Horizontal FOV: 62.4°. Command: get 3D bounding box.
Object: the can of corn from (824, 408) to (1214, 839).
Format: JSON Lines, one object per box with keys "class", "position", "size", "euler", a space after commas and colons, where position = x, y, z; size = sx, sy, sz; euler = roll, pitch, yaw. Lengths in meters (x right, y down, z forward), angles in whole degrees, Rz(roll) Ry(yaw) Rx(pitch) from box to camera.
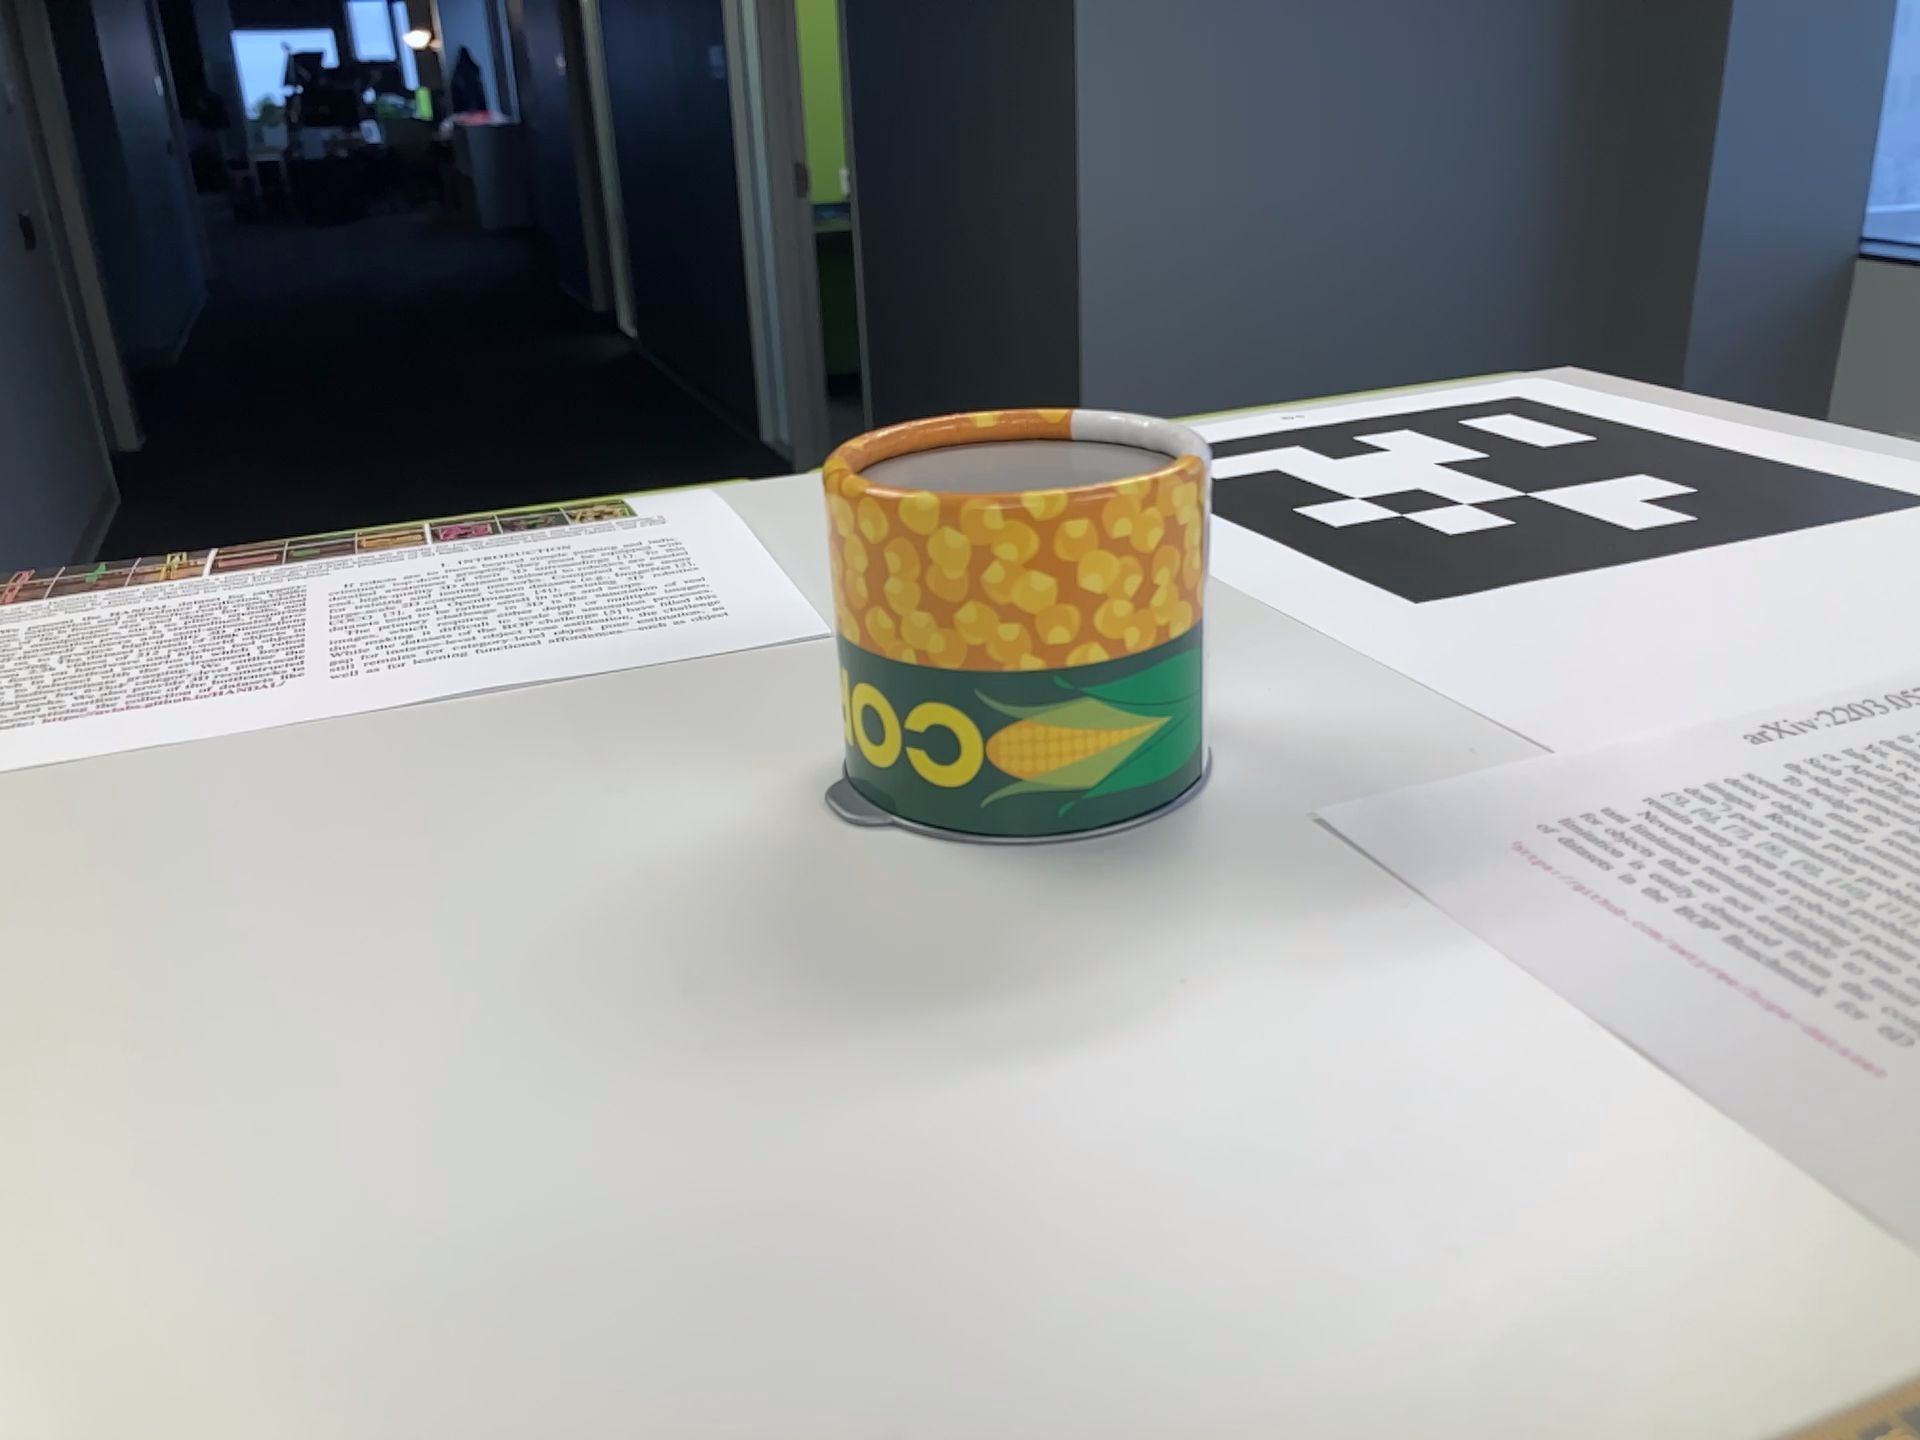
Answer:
{"class": "can of corn", "position": [0.009, -0.019, 0.275], "size": [0.071, 0.058, 0.071], "euler": [-3, 22, 1]}
